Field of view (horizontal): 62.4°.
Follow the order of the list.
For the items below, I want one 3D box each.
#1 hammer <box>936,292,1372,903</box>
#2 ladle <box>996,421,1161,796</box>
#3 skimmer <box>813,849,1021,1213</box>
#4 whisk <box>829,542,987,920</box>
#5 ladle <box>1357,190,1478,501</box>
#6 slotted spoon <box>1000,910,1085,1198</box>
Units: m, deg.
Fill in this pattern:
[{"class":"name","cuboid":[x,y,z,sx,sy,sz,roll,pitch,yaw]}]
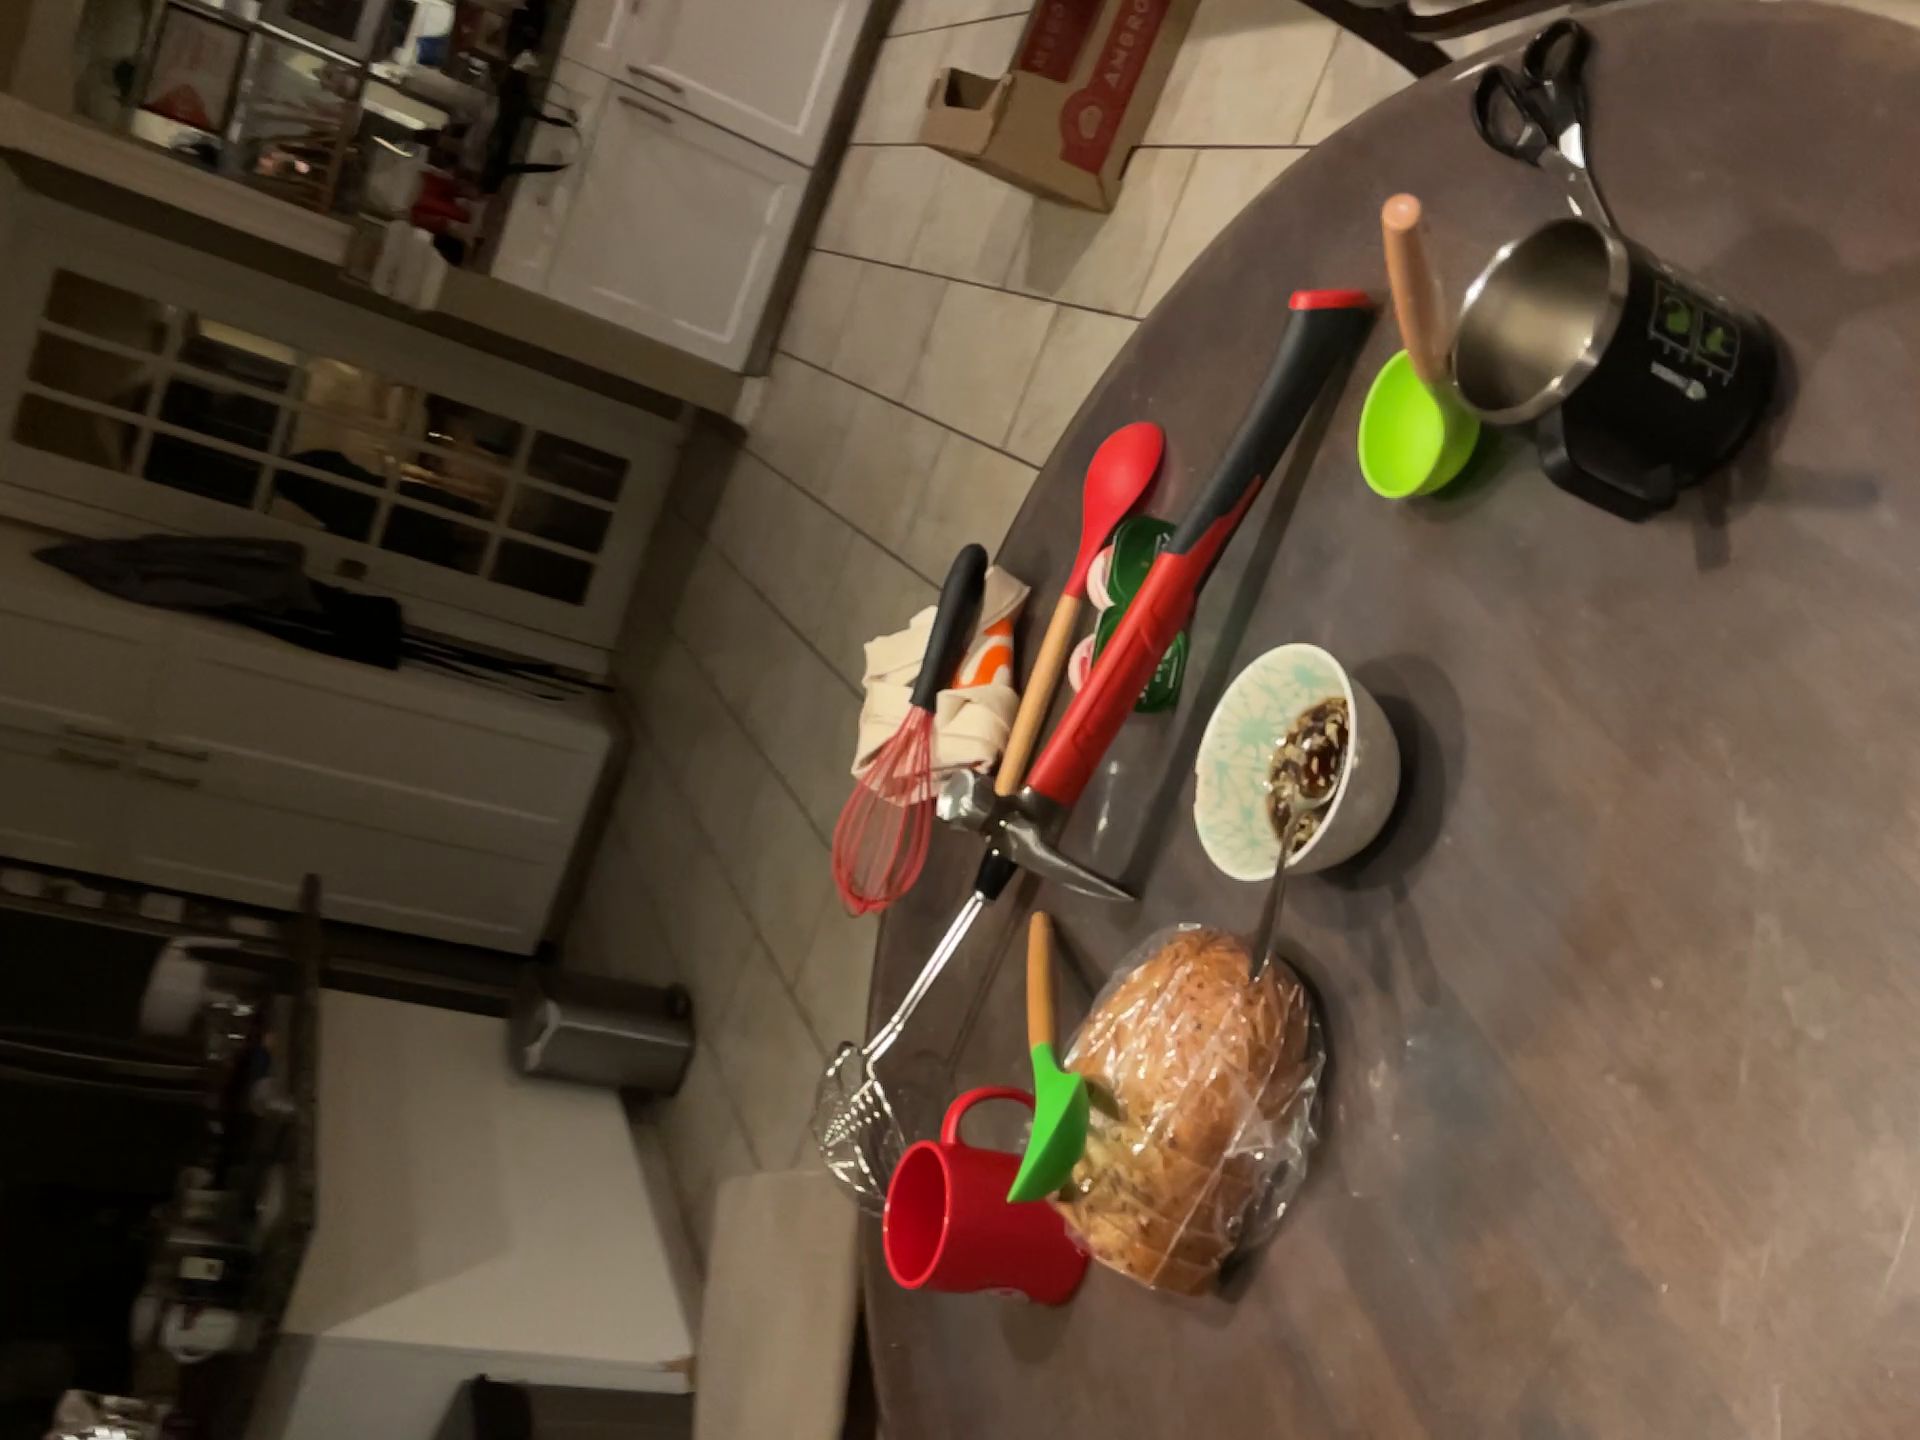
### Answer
[{"class":"hammer","cuboid":[0.140,-0.075,0.940,0.386,0.143,0.038,-59,28,3]},{"class":"ladle","cuboid":[0.072,-0.064,1.125,0.069,0.031,0.315,37,111,63]},{"class":"skimmer","cuboid":[0.006,0.180,1.108,0.363,0.090,0.127,-57,36,9]},{"class":"whisk","cuboid":[-0.034,0.009,1.179,0.073,0.073,0.296,24,96,65]},{"class":"ladle","cuboid":[0.191,-0.161,0.692,0.062,0.320,0.078,1,85,20]},{"class":"slotted spoon","cuboid":[0.048,0.176,0.909,0.070,0.031,0.314,-61,6,16]}]
